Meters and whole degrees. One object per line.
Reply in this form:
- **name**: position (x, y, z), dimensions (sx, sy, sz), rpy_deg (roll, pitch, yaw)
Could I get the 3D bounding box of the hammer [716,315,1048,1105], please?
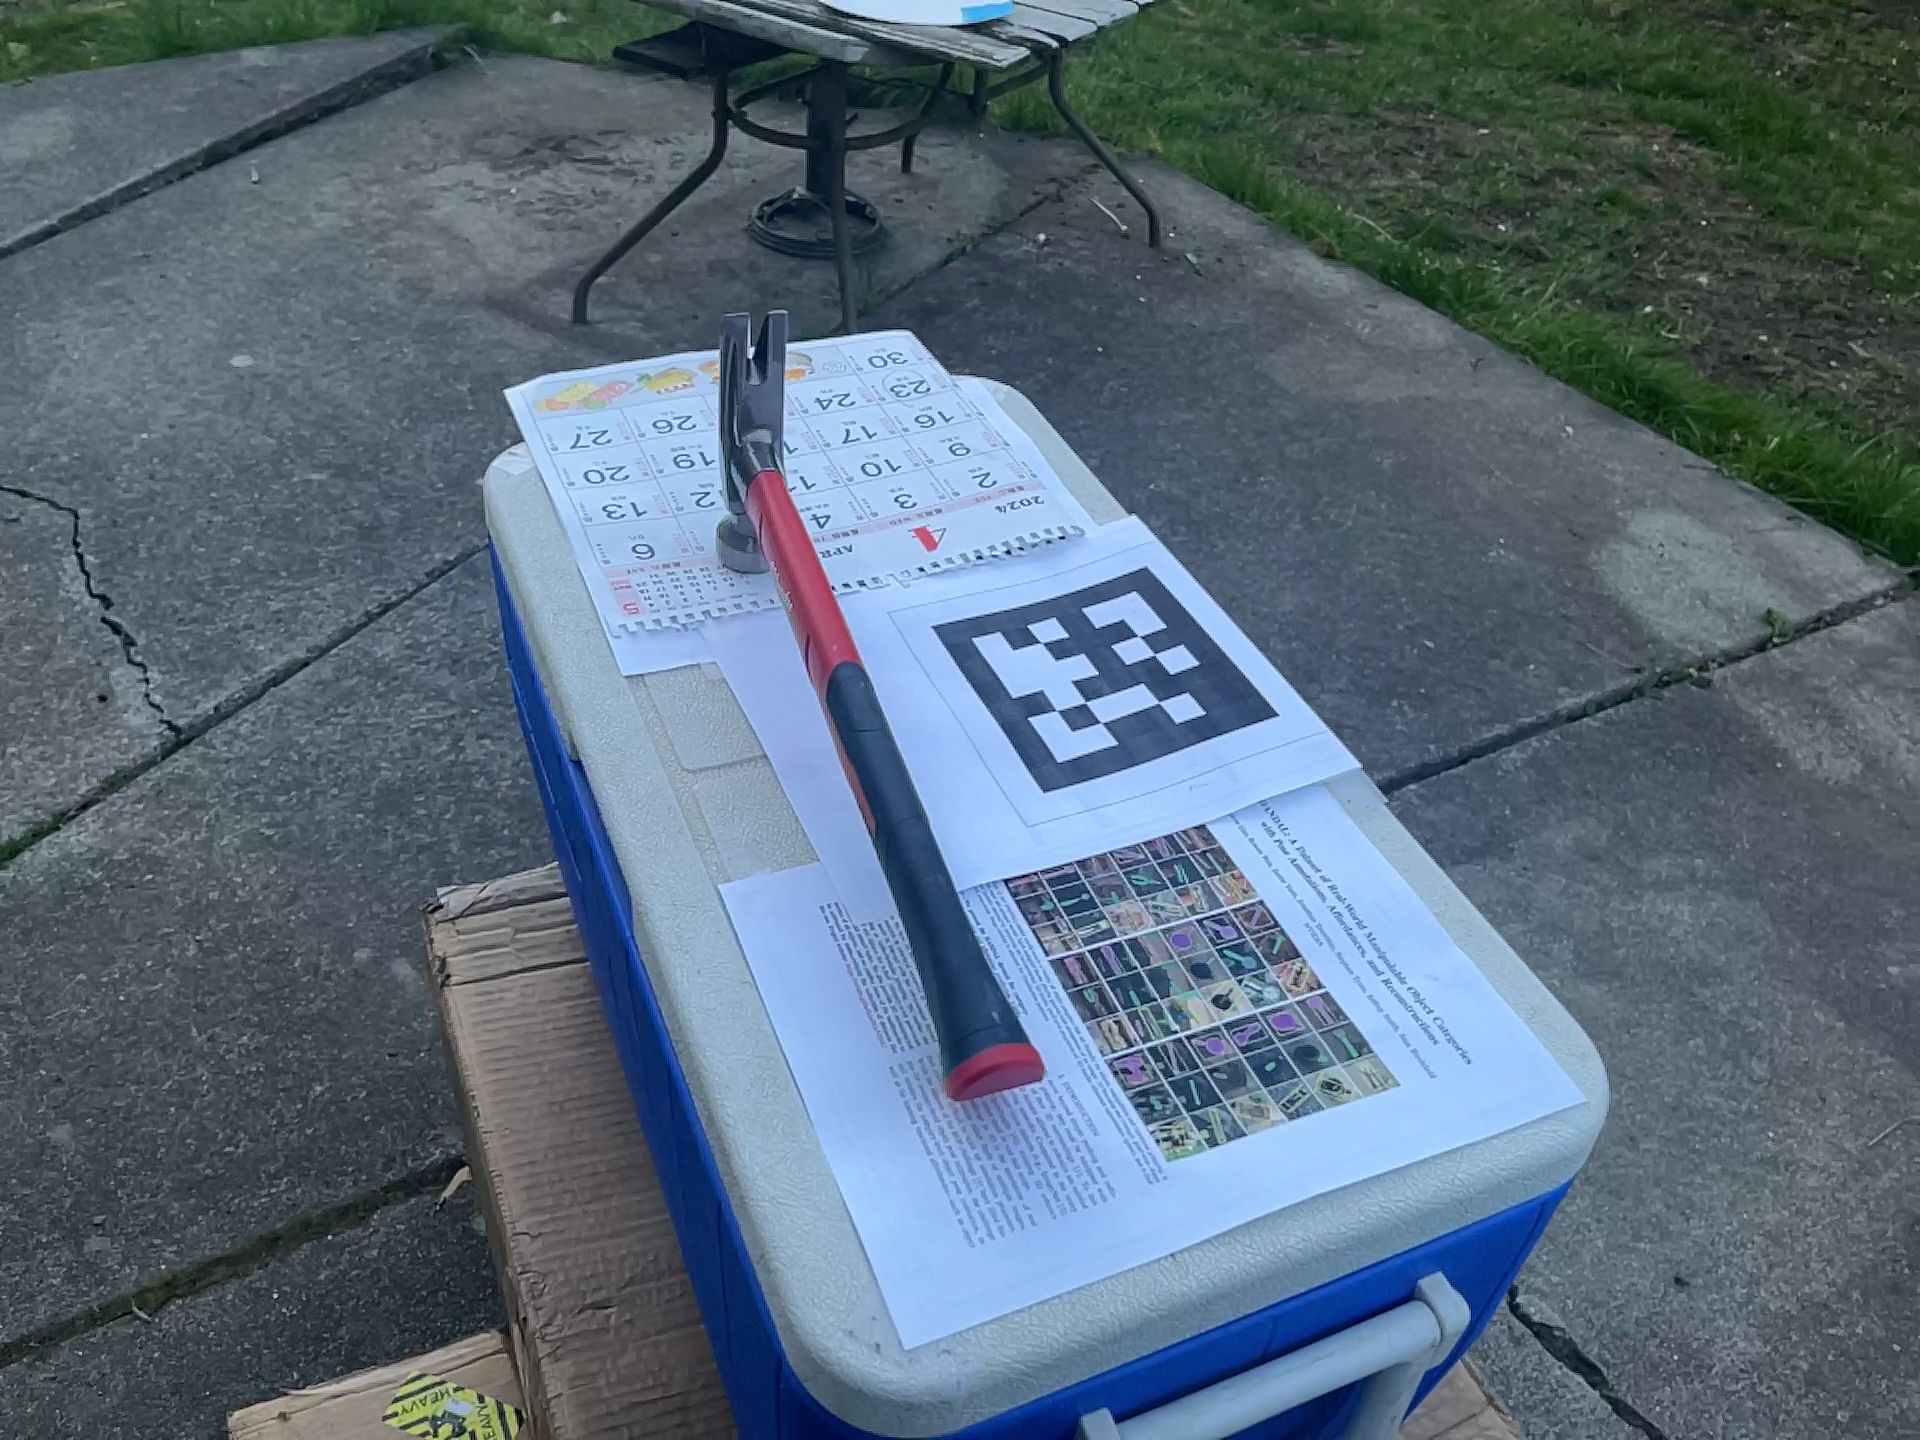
- **hammer**: position (-0.046, -0.015, 0.656), dimensions (0.038, 0.143, 0.386), rpy_deg (-10, 47, -18)
